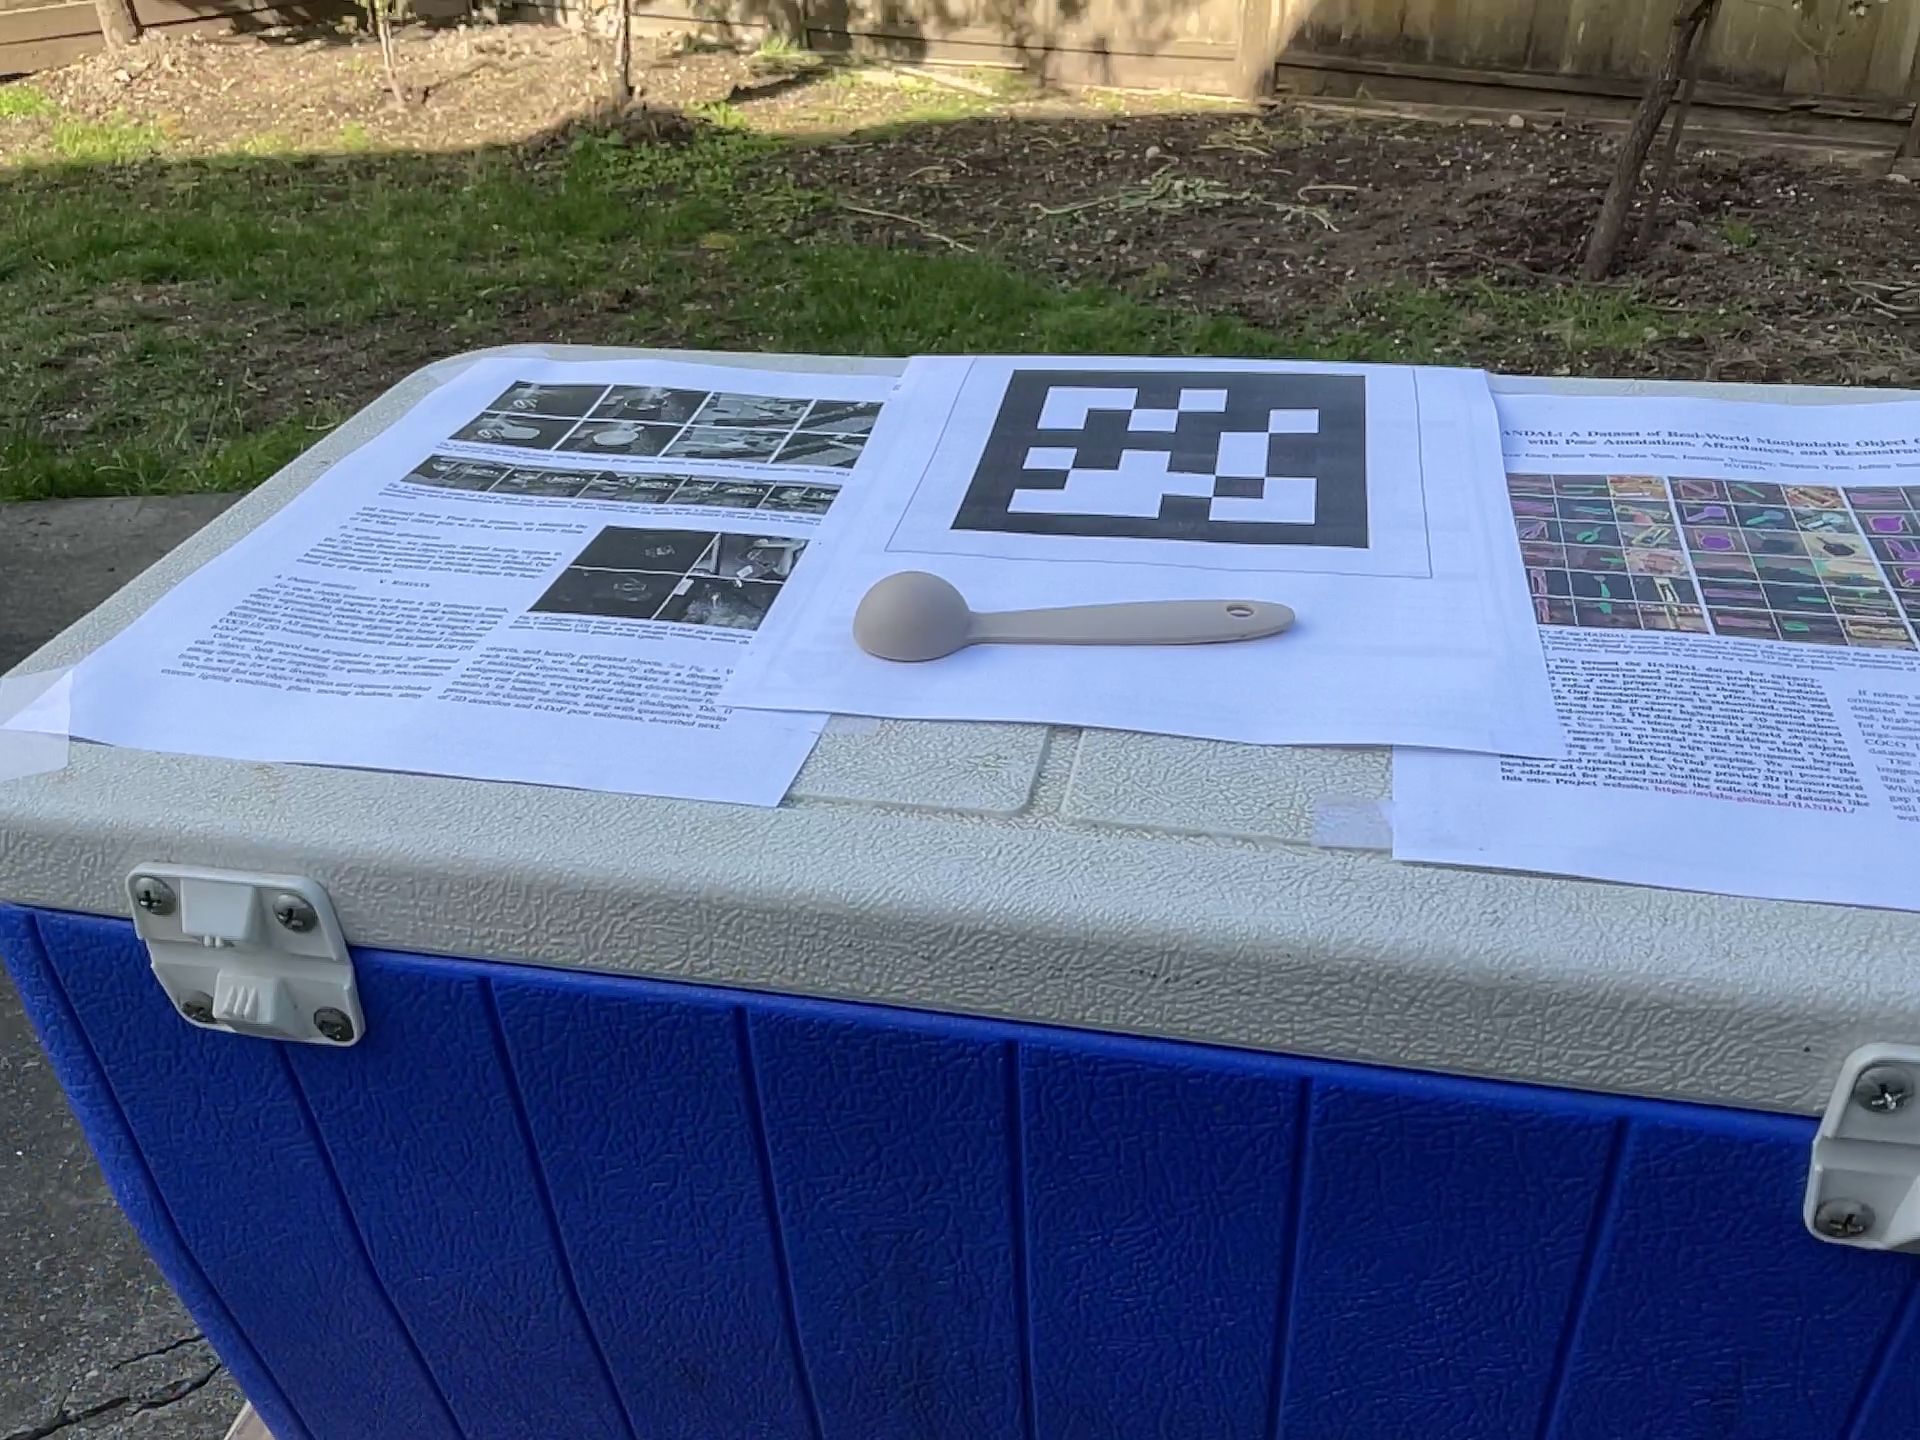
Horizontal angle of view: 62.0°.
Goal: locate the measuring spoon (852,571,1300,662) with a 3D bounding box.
[{"bbox_3d":[0.031,-0.032,0.441,0.124,0.018,0.034,-1,32,3],"label":"measuring spoon"}]
